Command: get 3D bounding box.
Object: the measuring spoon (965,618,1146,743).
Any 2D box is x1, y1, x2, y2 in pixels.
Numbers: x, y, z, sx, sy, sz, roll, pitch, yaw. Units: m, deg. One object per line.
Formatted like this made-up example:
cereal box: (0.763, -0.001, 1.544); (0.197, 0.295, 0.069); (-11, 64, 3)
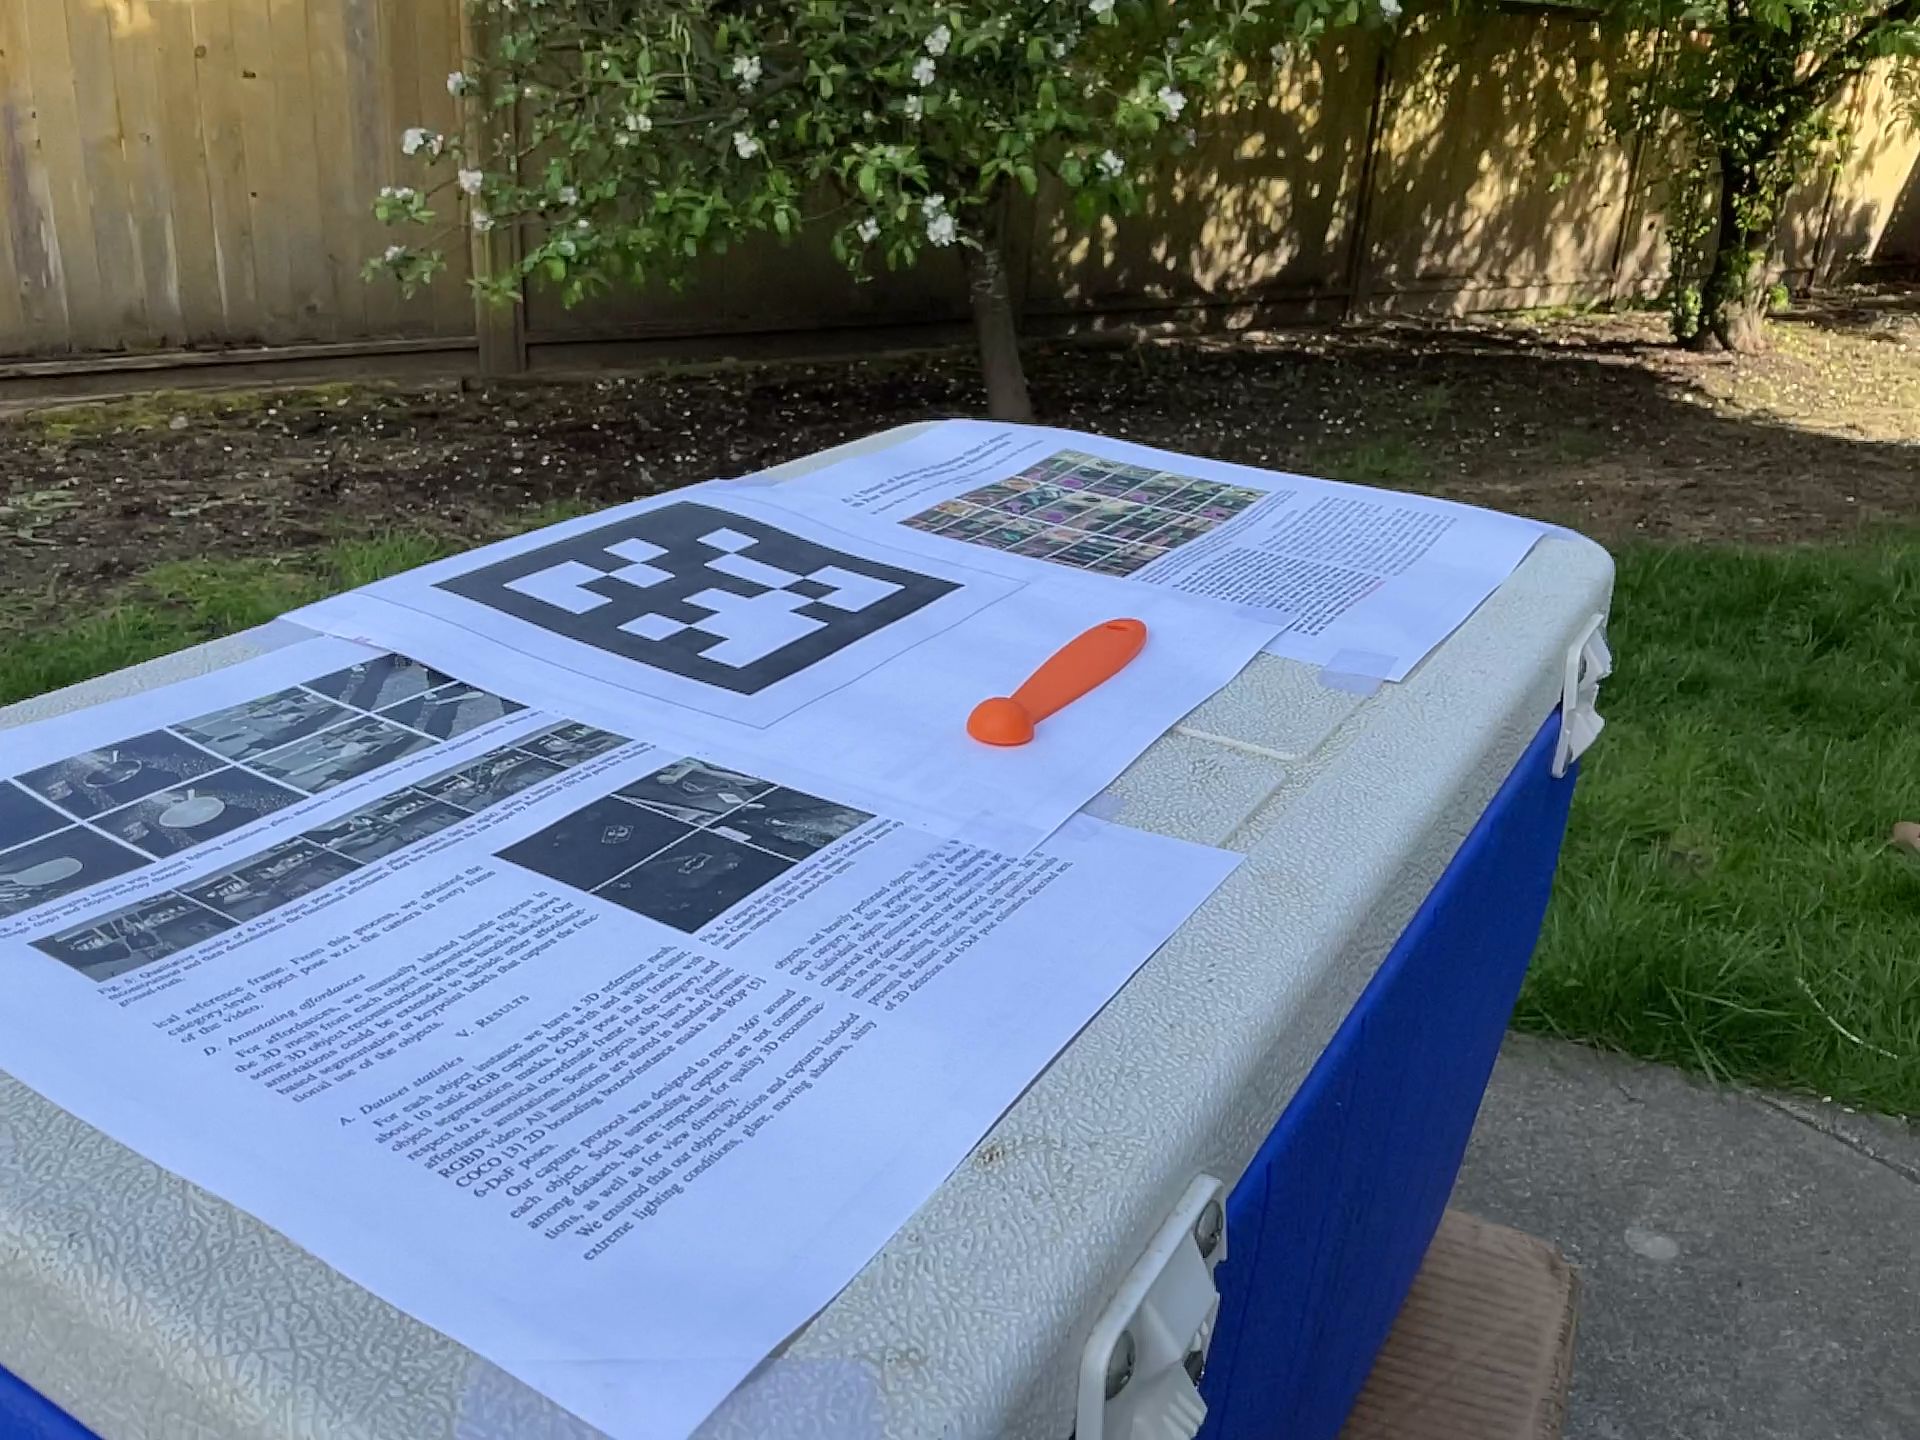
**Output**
measuring spoon: (0.033, -0.017, 0.493); (0.021, 0.011, 0.117); (19, 26, 21)
